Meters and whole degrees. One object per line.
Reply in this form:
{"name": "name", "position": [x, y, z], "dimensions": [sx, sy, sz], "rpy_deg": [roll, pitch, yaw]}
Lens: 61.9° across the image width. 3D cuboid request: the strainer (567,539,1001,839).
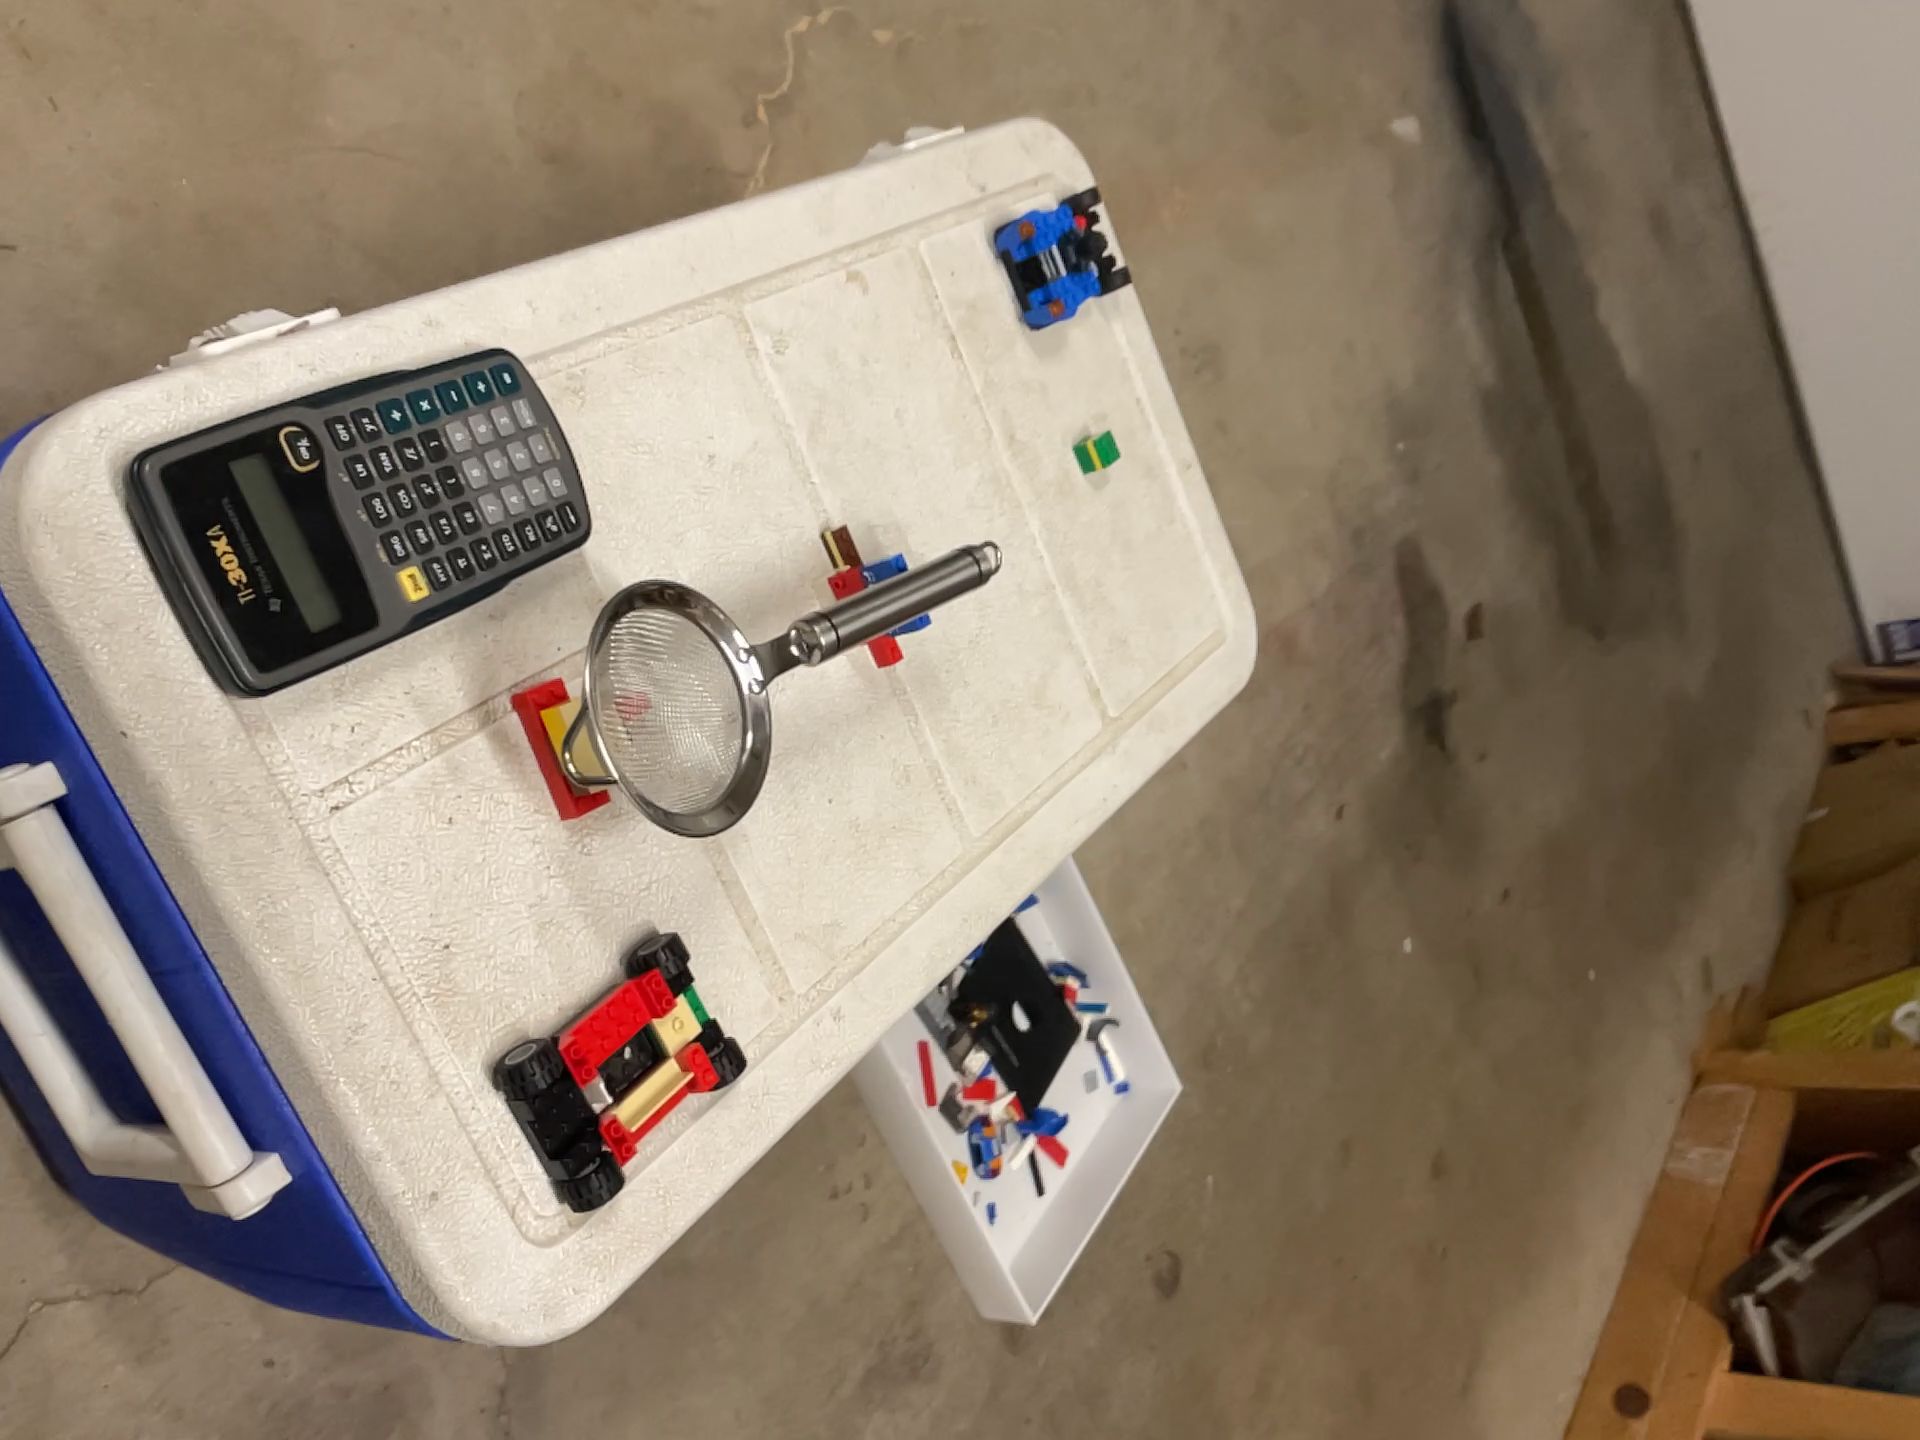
{"name": "strainer", "position": [-0.059, -0.025, 0.590], "dimensions": [0.259, 0.050, 0.086], "rpy_deg": [-31, 106, -48]}
